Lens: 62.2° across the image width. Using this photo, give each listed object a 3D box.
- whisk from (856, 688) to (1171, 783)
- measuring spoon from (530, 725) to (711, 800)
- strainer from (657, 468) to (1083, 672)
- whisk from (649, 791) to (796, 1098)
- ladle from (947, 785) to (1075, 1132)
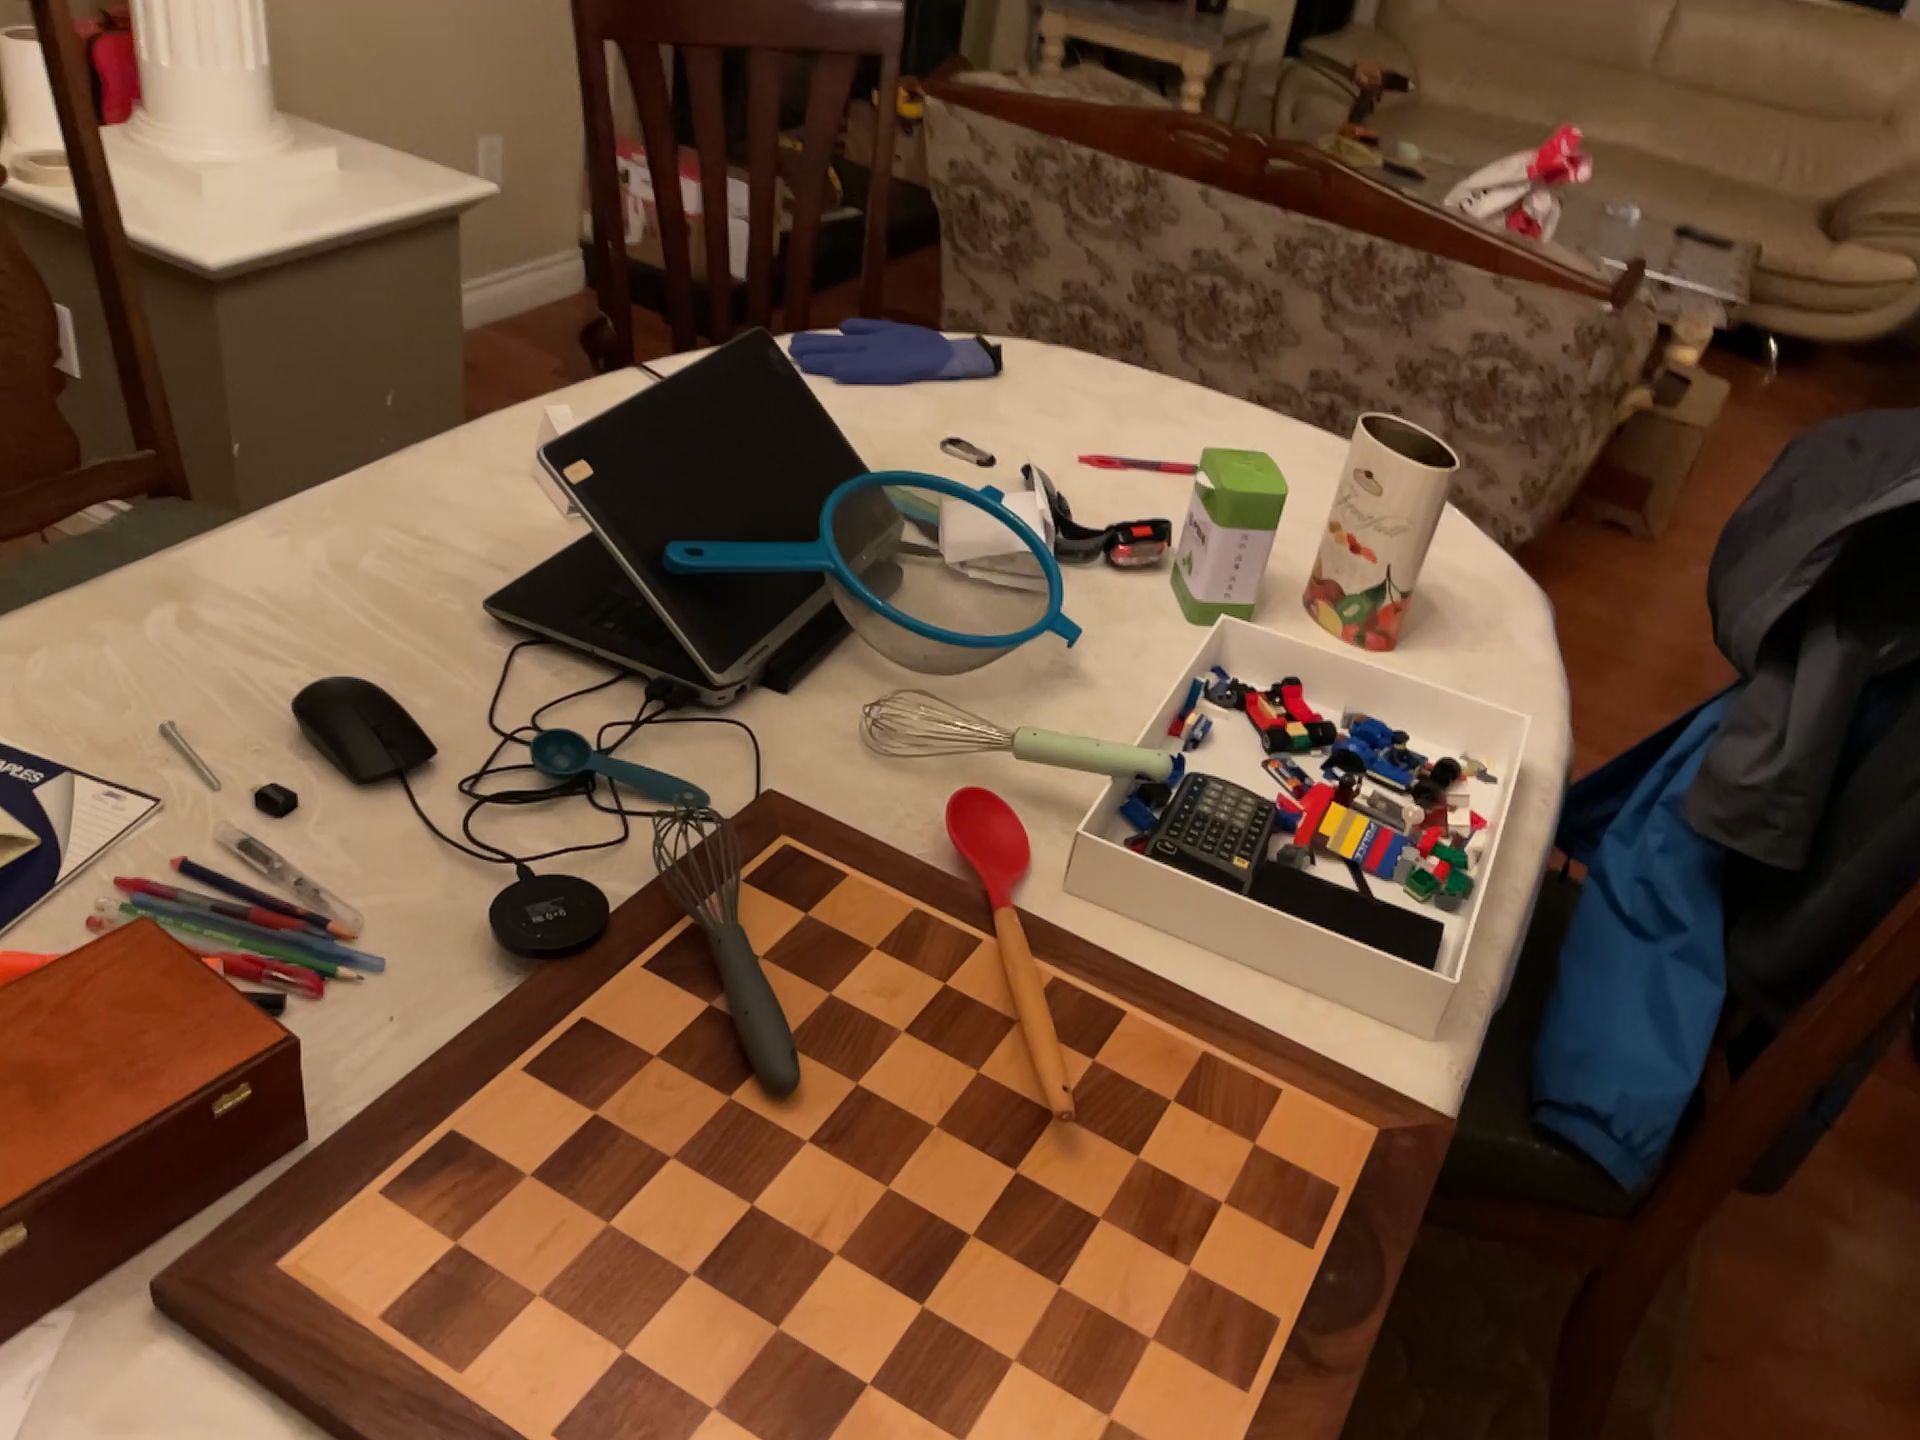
[{"bbox_3d":[0.035,0.015,1.151,0.246,0.057,0.059,9,61,23],"label":"whisk"},{"bbox_3d":[-0.237,0.039,1.107,0.128,0.021,0.042,19,40,-10],"label":"measuring spoon"},{"bbox_3d":[-0.083,-0.103,1.278,0.340,0.095,0.211,-3,49,-28],"label":"strainer"},{"bbox_3d":[-0.141,0.130,0.948,0.055,0.055,0.239,-16,44,-14],"label":"whisk"},{"bbox_3d":[0.035,0.139,0.991,0.069,0.031,0.316,23,24,-21],"label":"ladle"}]
